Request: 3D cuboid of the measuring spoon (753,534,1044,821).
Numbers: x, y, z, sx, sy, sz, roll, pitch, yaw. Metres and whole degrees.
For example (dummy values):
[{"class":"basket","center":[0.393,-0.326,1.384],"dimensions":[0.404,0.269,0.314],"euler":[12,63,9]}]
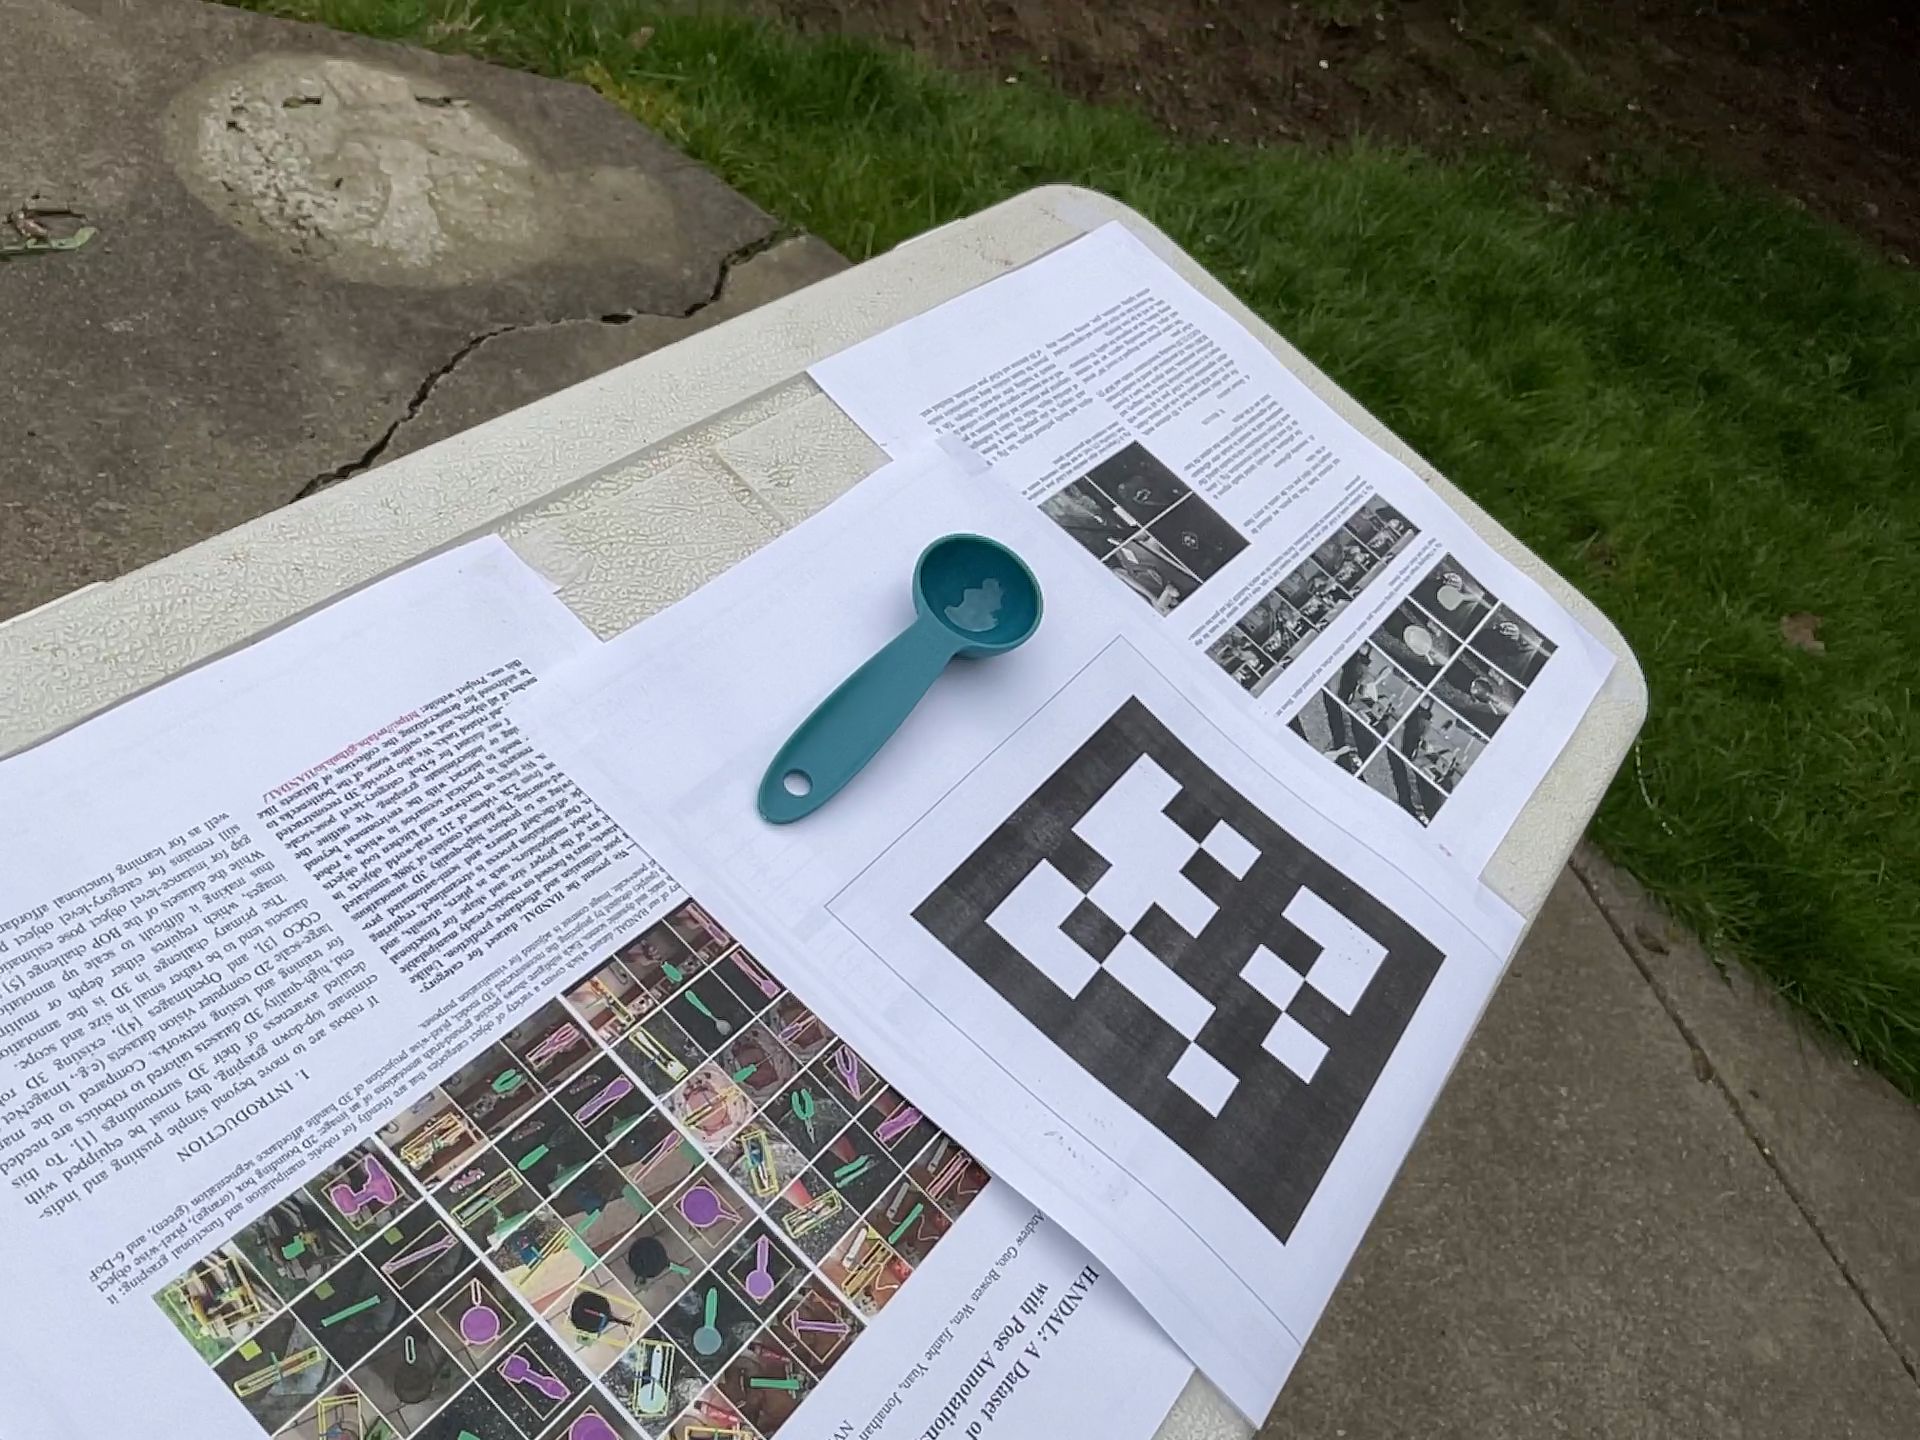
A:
[{"class":"measuring spoon","center":[-0.021,-0.009,0.471],"dimensions":[0.042,0.021,0.129],"euler":[40,54,4]}]
